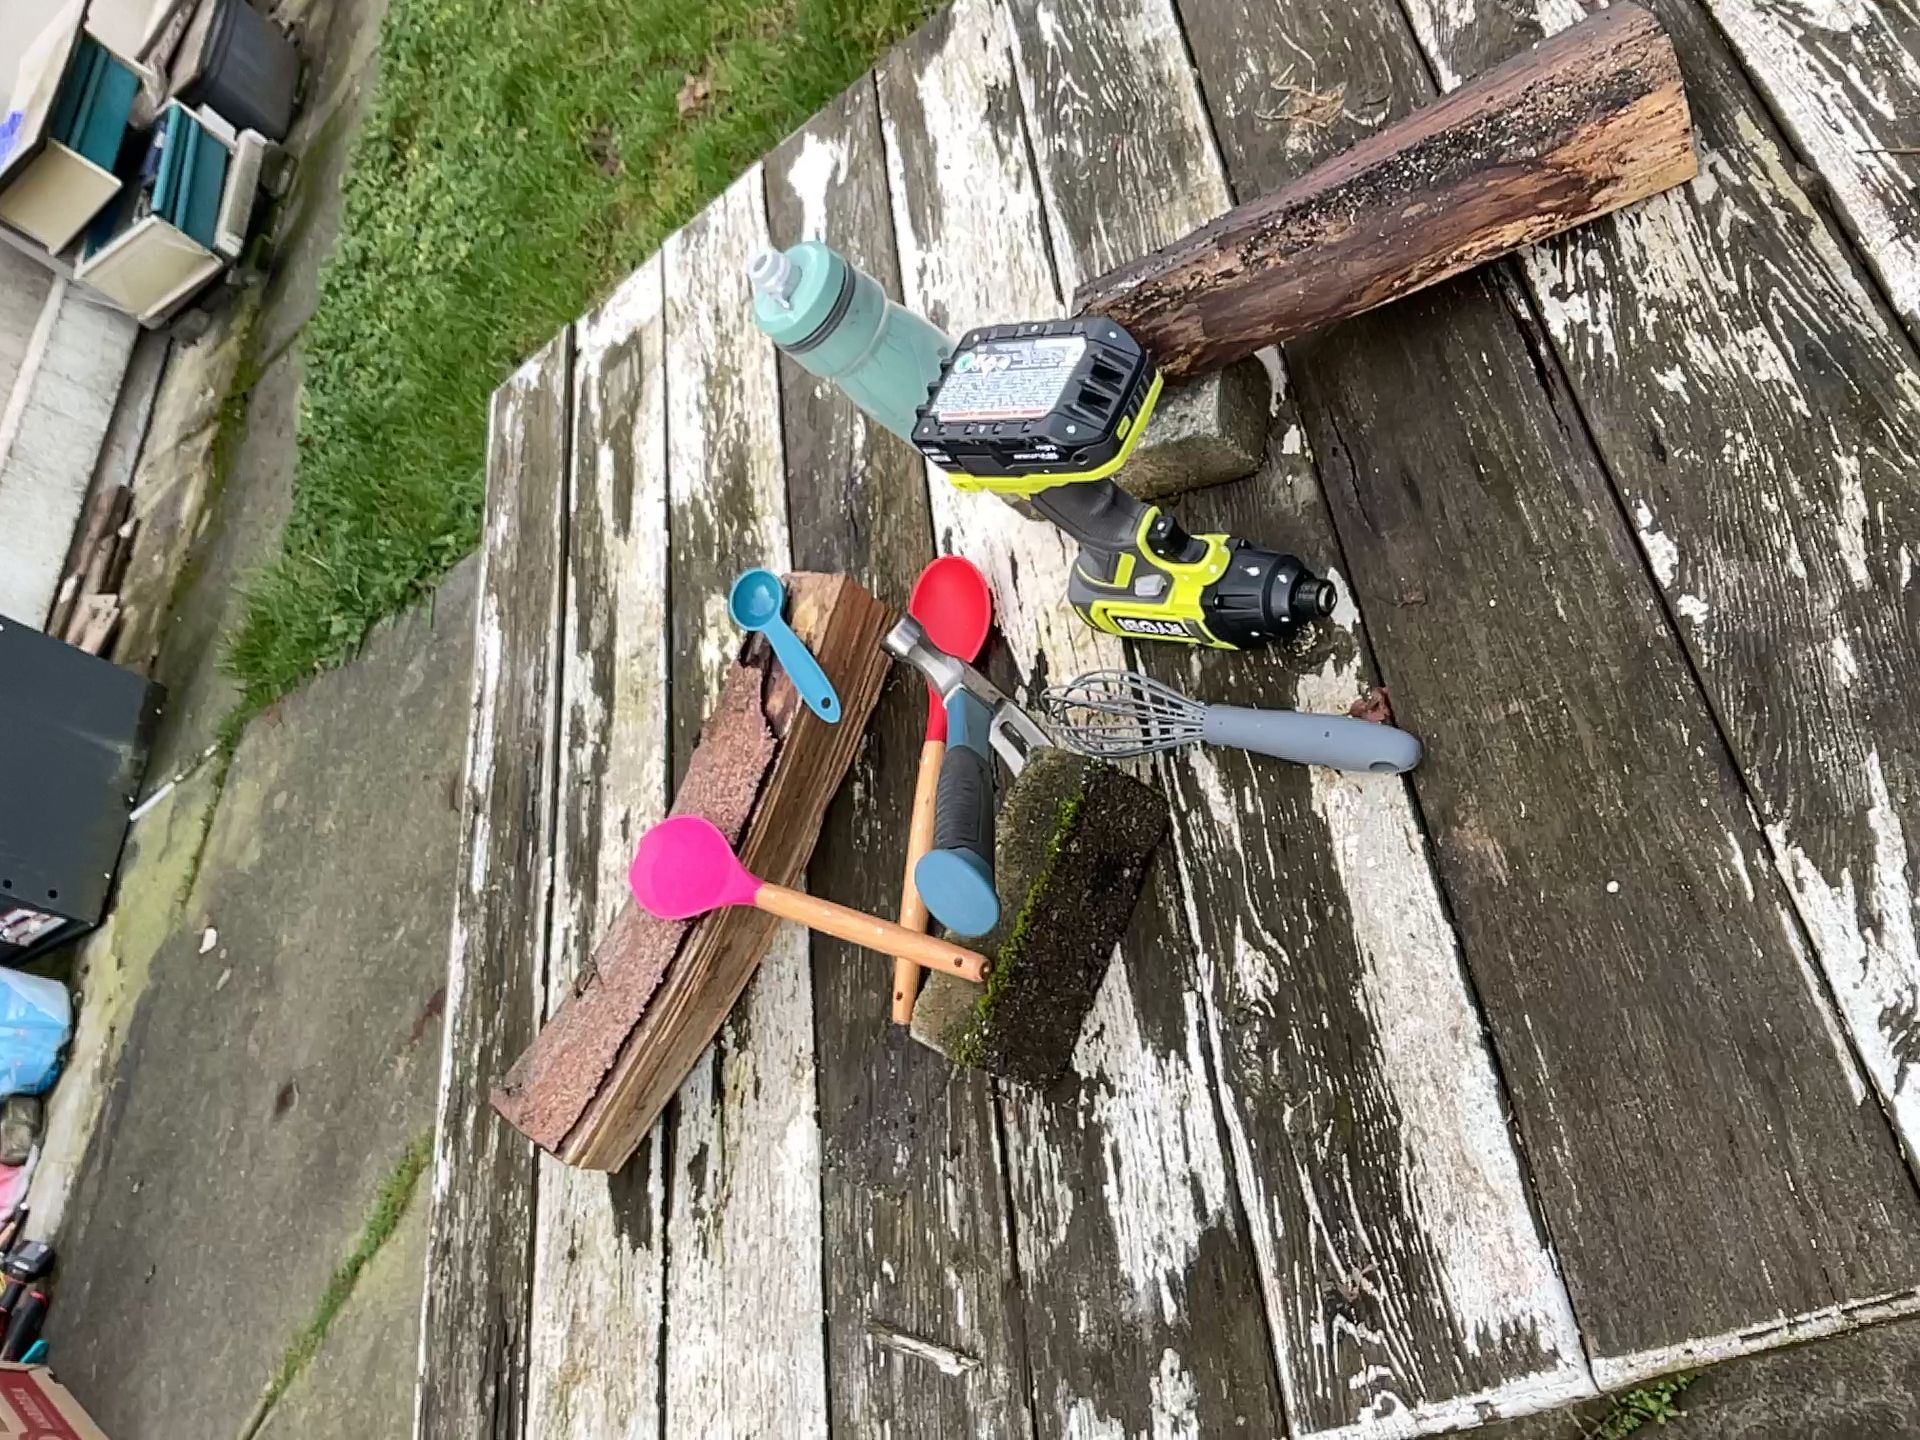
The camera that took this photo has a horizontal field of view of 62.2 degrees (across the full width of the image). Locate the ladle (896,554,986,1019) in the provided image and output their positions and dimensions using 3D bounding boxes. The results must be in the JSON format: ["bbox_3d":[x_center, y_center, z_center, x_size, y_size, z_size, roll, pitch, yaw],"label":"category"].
[{"bbox_3d":[-0.019,0.038,1.045,0.069,0.031,0.316,-12,63,37],"label":"ladle"}]

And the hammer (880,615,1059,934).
[{"bbox_3d":[0.003,0.029,0.879,0.033,0.128,0.331,-49,11,15],"label":"hammer"}]

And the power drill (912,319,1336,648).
[{"bbox_3d":[0.094,-0.117,0.876,0.171,0.222,0.080,9,67,45],"label":"power drill"}]

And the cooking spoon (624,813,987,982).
[{"bbox_3d":[-0.105,0.112,0.965,0.319,0.017,0.069,12,76,43],"label":"cooking spoon"}]

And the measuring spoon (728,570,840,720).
[{"bbox_3d":[-0.112,-0.048,1.068,0.042,0.021,0.129,-44,66,17],"label":"measuring spoon"}]

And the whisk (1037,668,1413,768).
[{"bbox_3d":[0.140,0.003,0.886,0.239,0.055,0.055,7,81,43],"label":"whisk"}]
